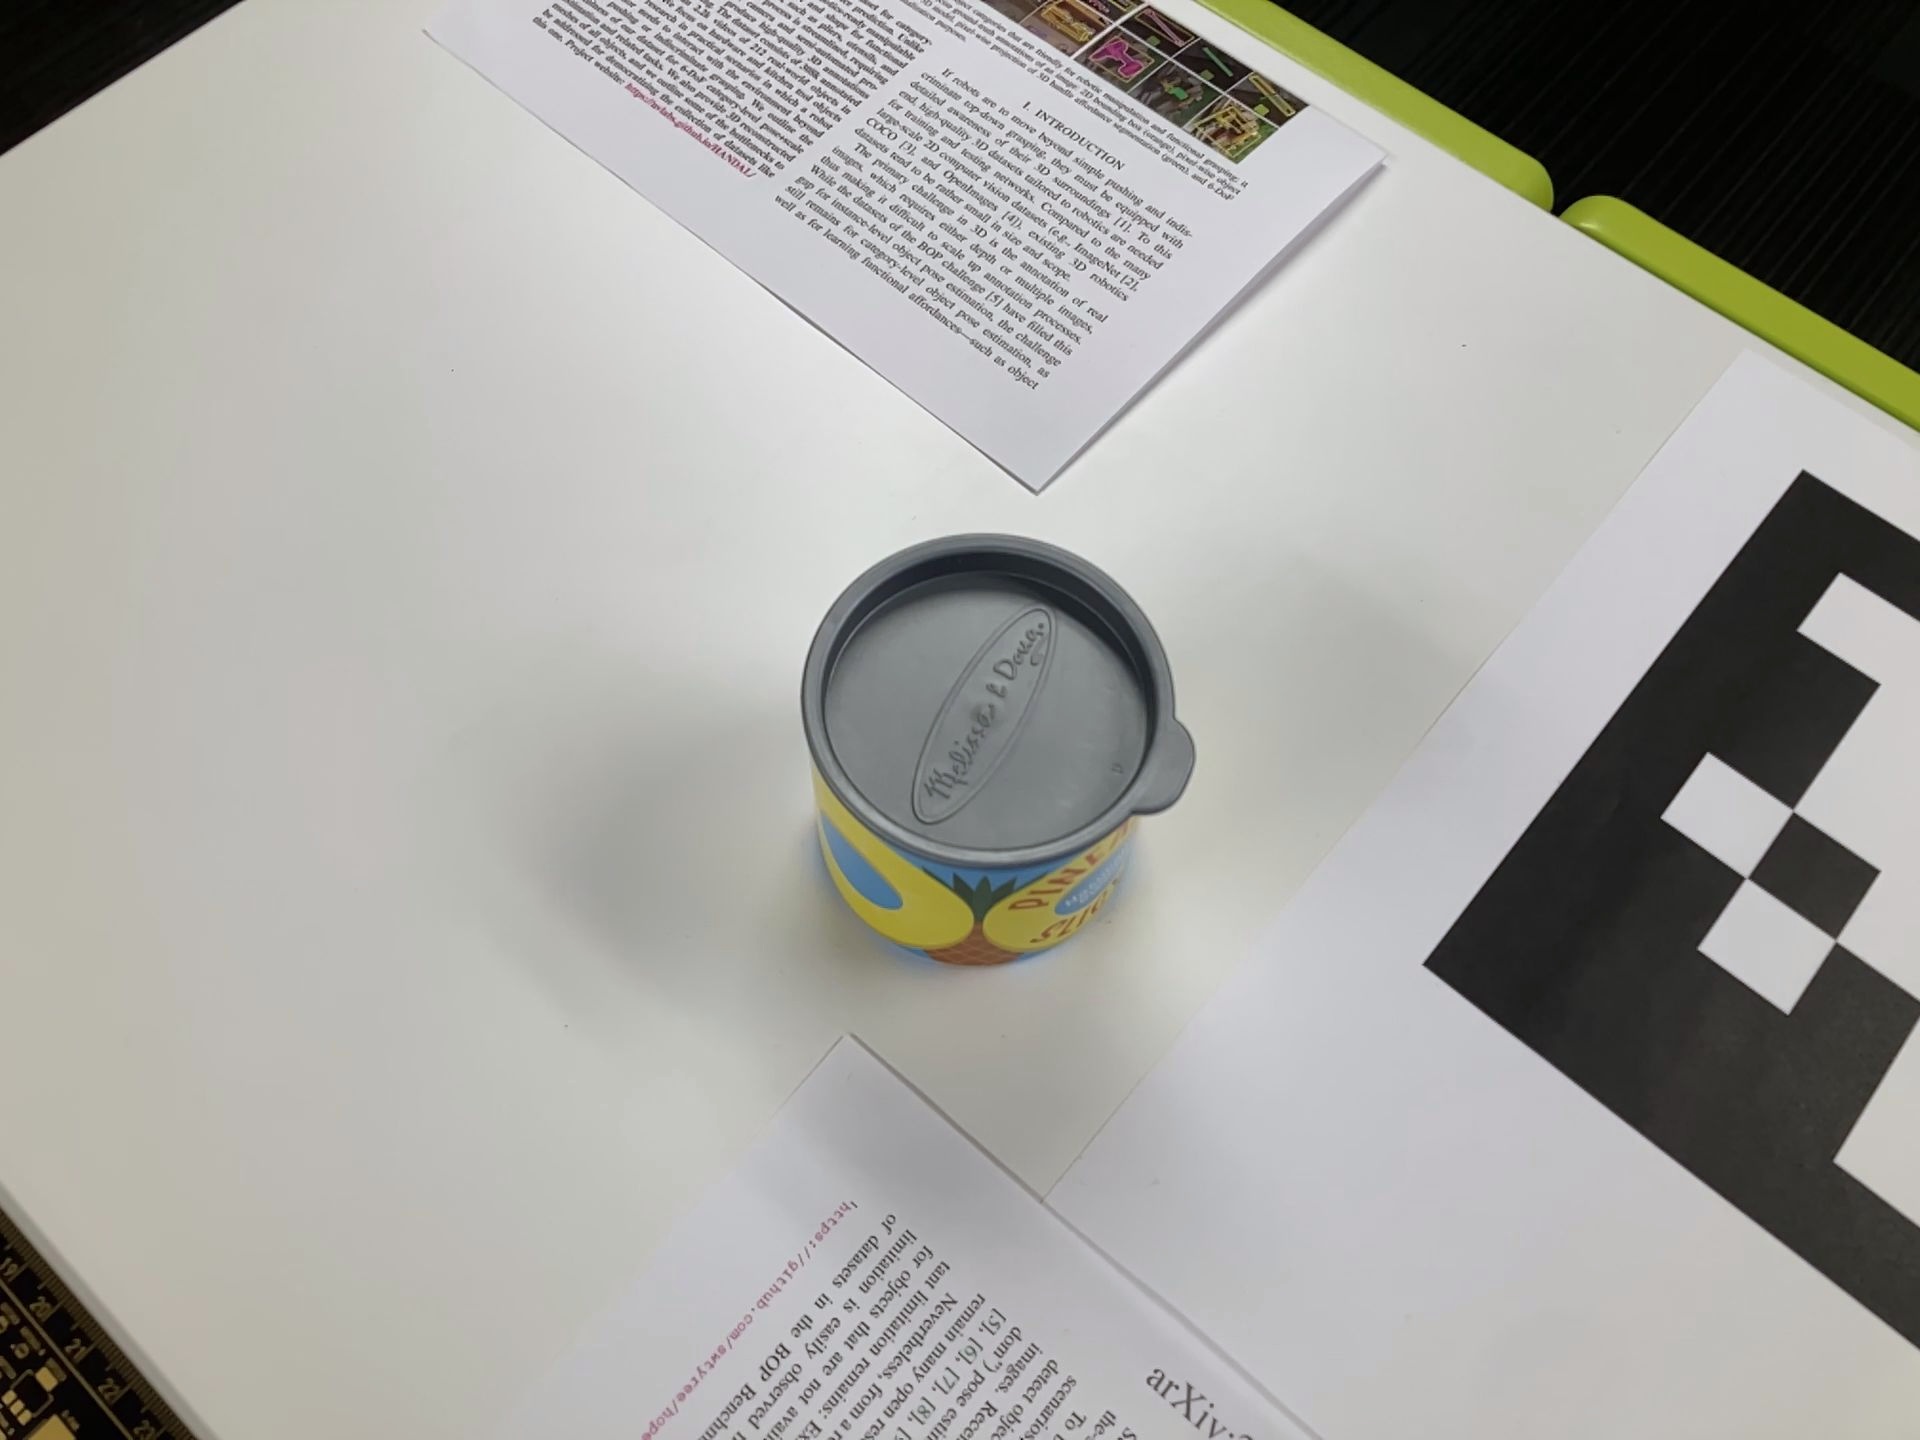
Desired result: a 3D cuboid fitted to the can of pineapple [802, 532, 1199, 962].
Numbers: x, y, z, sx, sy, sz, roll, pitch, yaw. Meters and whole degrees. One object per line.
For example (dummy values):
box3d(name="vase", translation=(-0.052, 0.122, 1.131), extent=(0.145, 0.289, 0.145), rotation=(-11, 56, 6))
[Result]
box3d(name="can of pineapple", translation=(0.006, 0.008, 0.303), extent=(0.071, 0.058, 0.071), rotation=(1, 65, -1))
